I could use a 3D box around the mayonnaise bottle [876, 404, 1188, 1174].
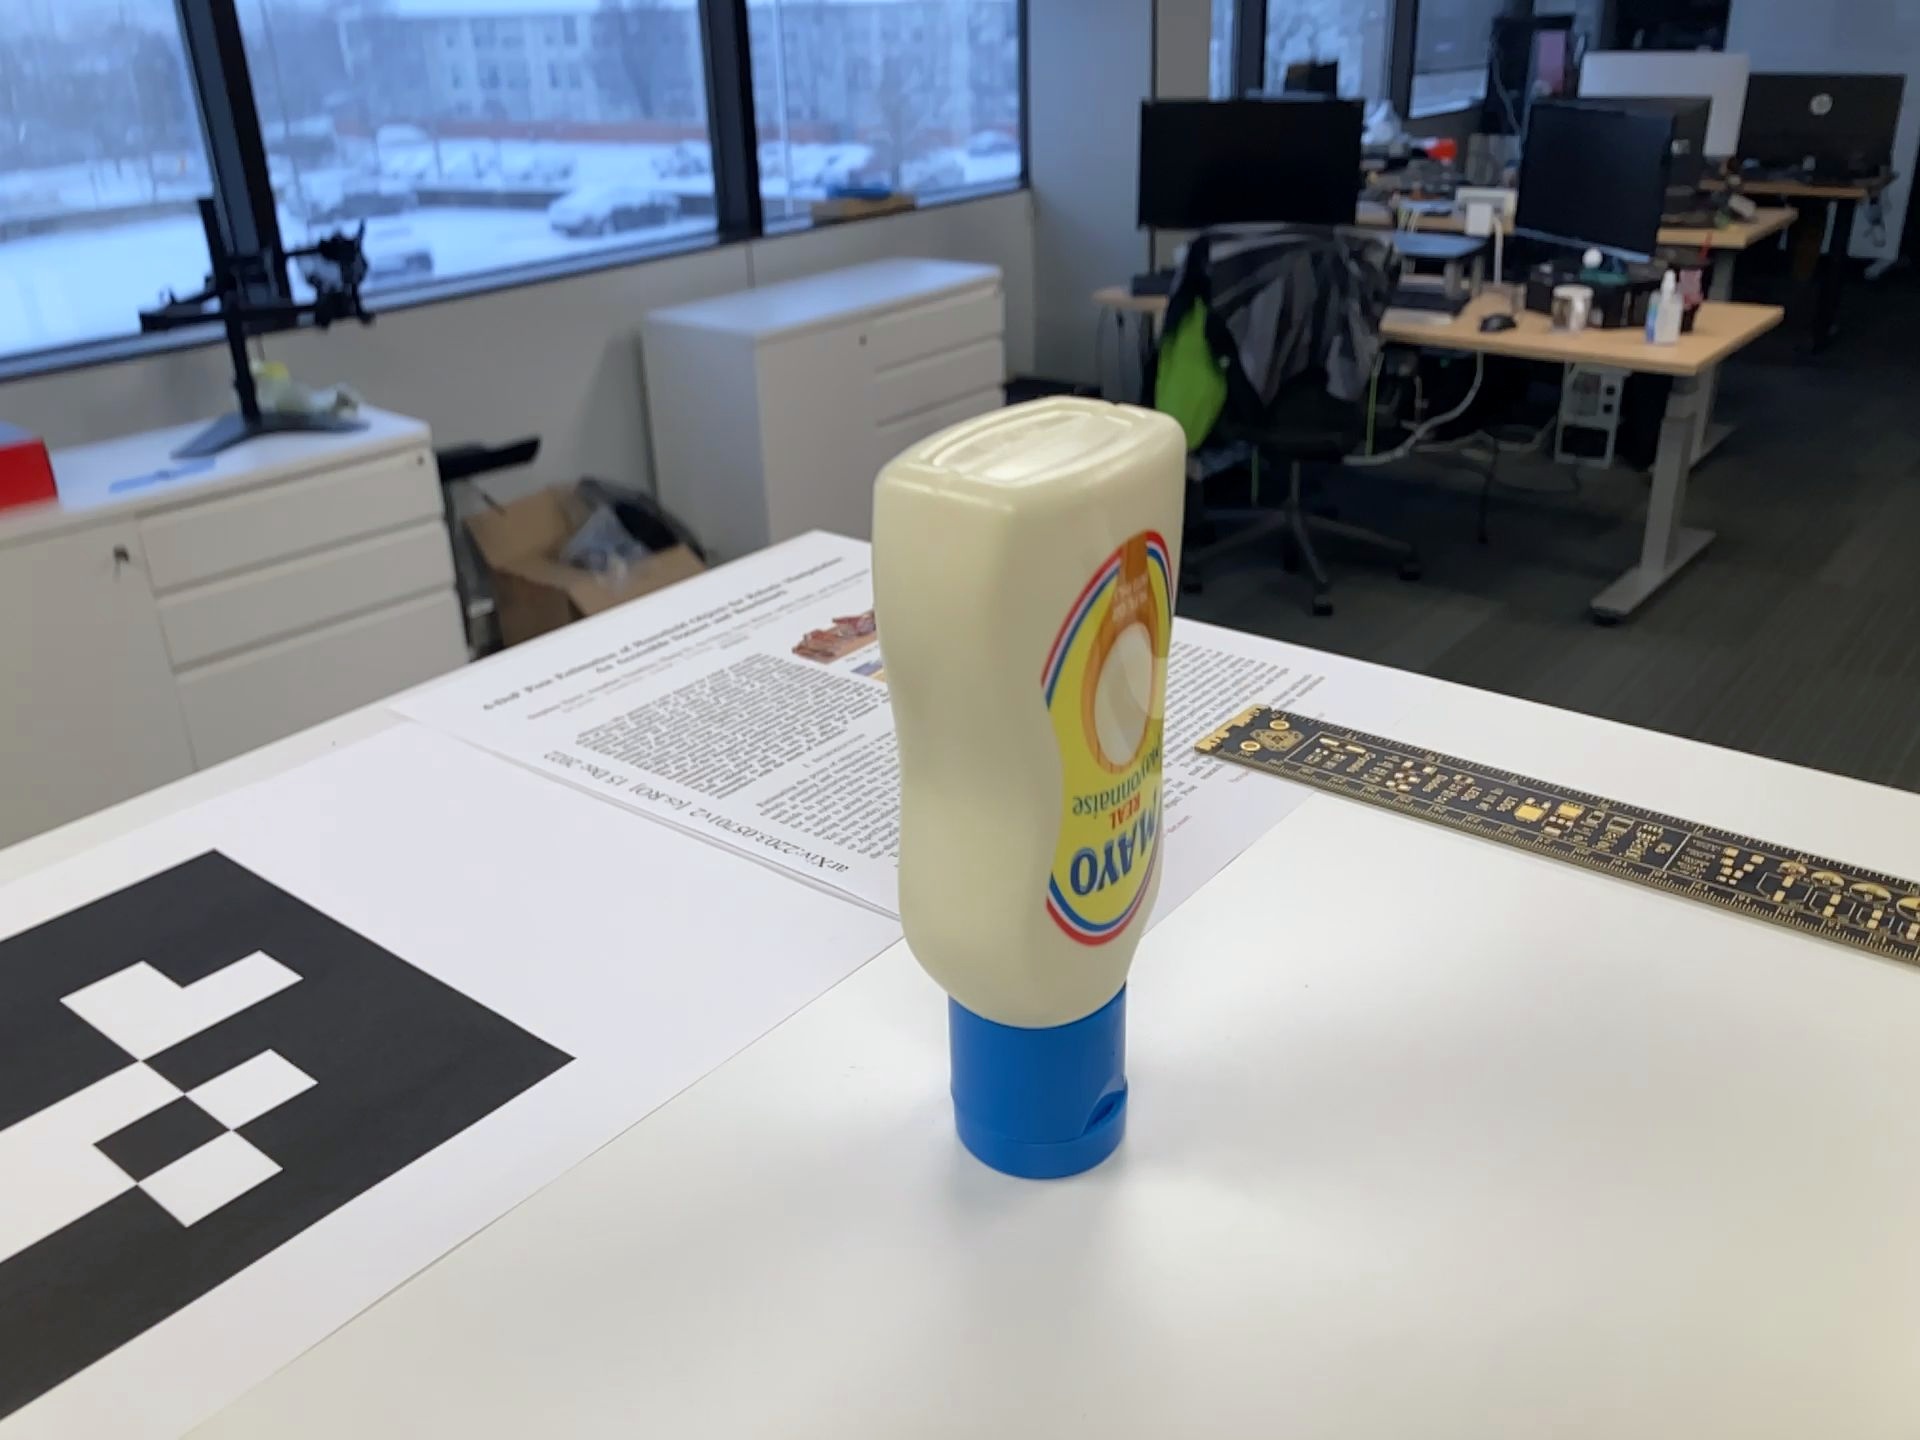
[{"bbox_3d":[0.016,0.018,0.306,0.041,0.148,0.065,17,31,34],"label":"mayonnaise bottle"}]
